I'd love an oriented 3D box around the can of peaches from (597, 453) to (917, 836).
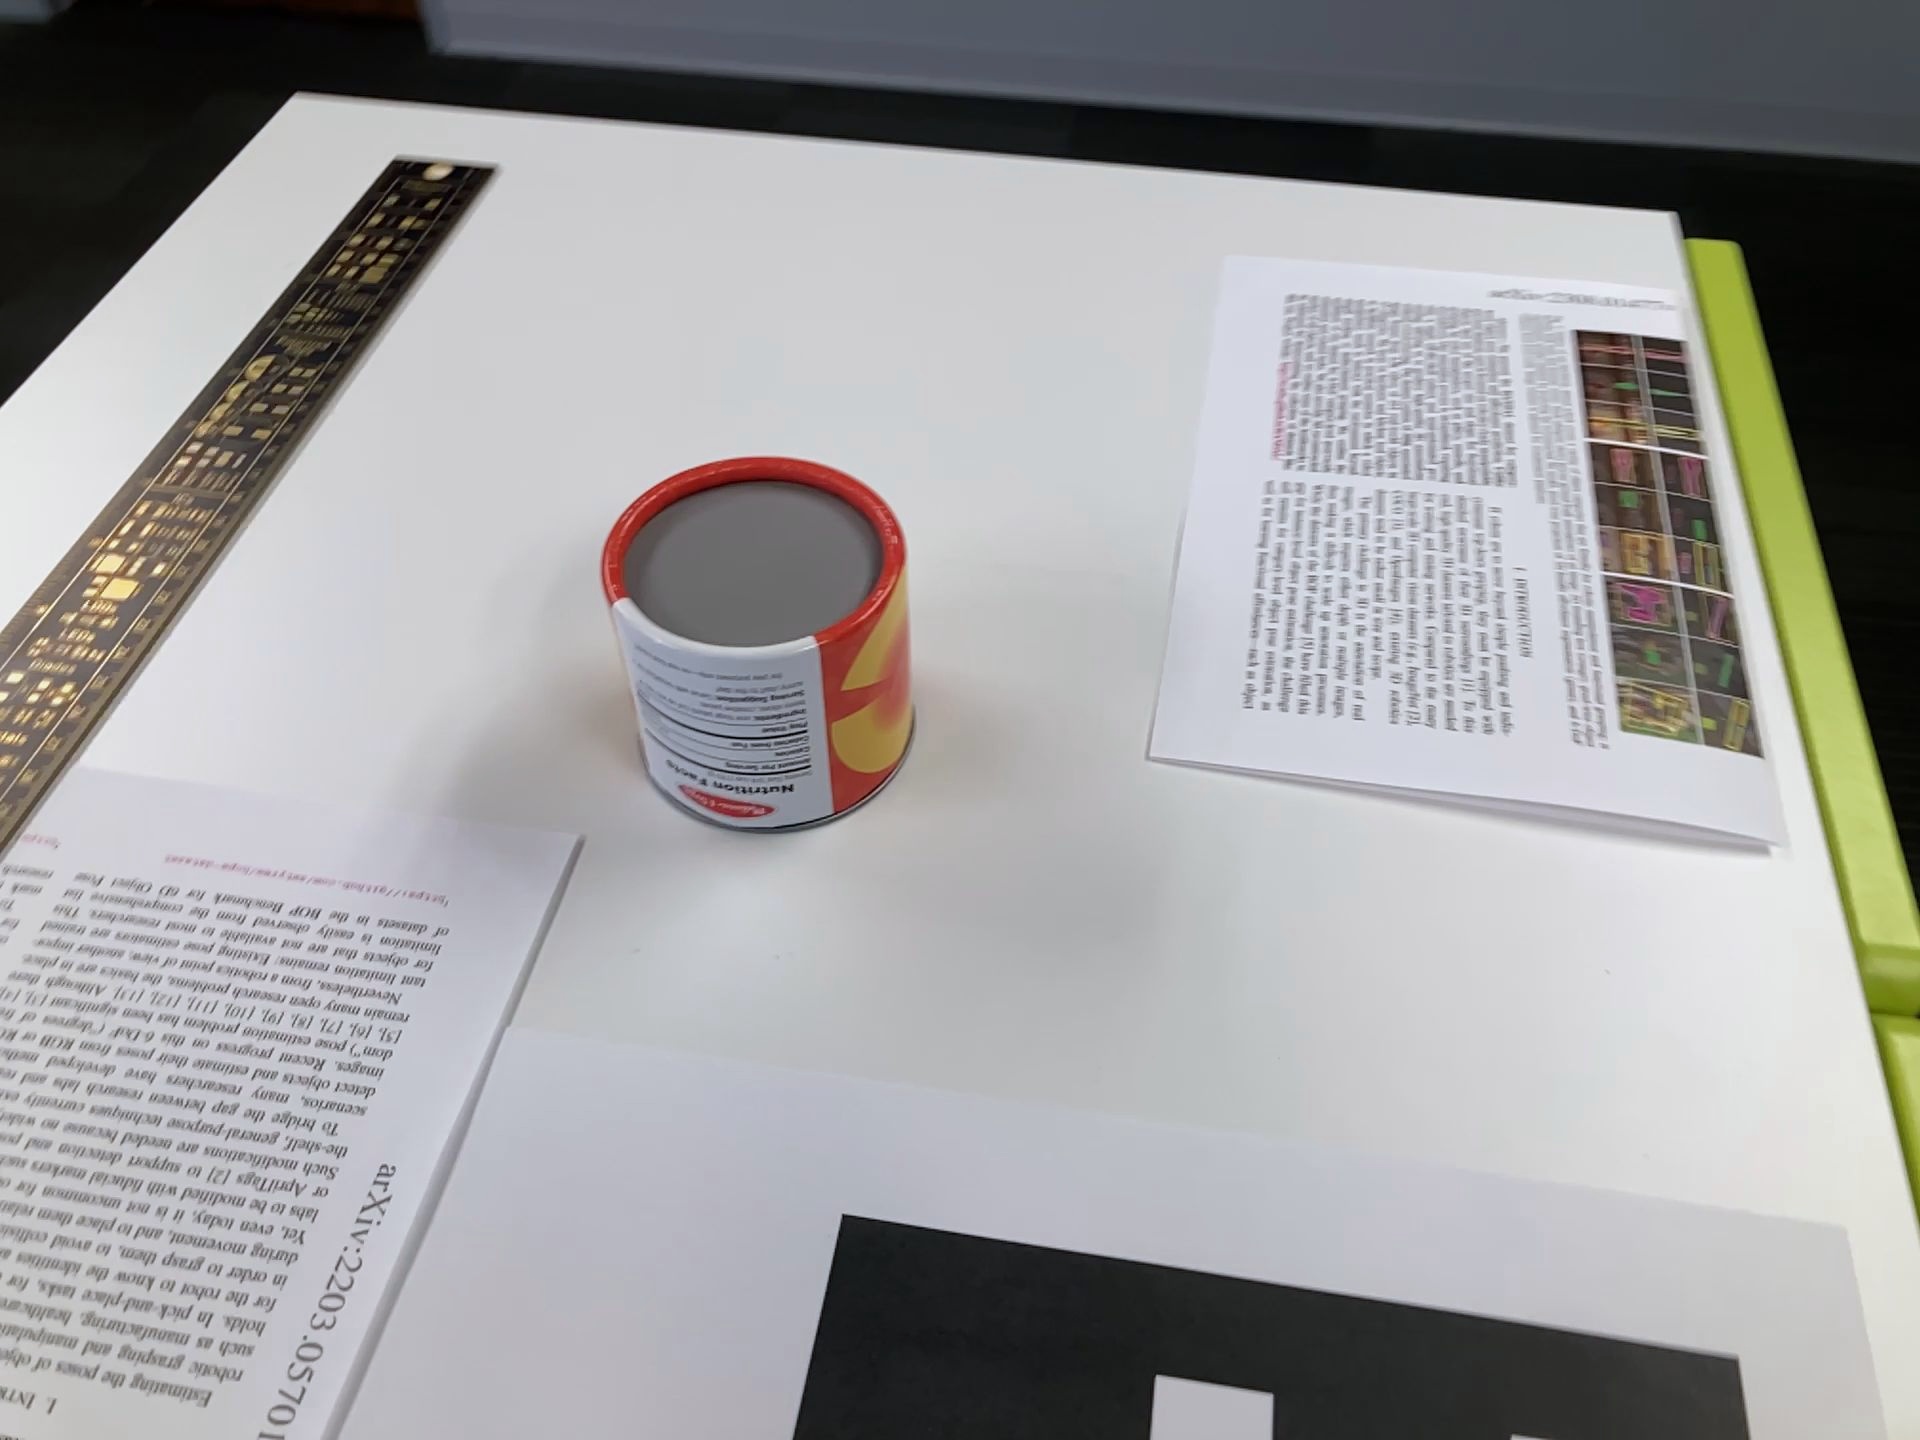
[{"bbox_3d":[-0.043,-0.019,0.357,0.071,0.058,0.071,-1,49,1],"label":"can of peaches"}]
